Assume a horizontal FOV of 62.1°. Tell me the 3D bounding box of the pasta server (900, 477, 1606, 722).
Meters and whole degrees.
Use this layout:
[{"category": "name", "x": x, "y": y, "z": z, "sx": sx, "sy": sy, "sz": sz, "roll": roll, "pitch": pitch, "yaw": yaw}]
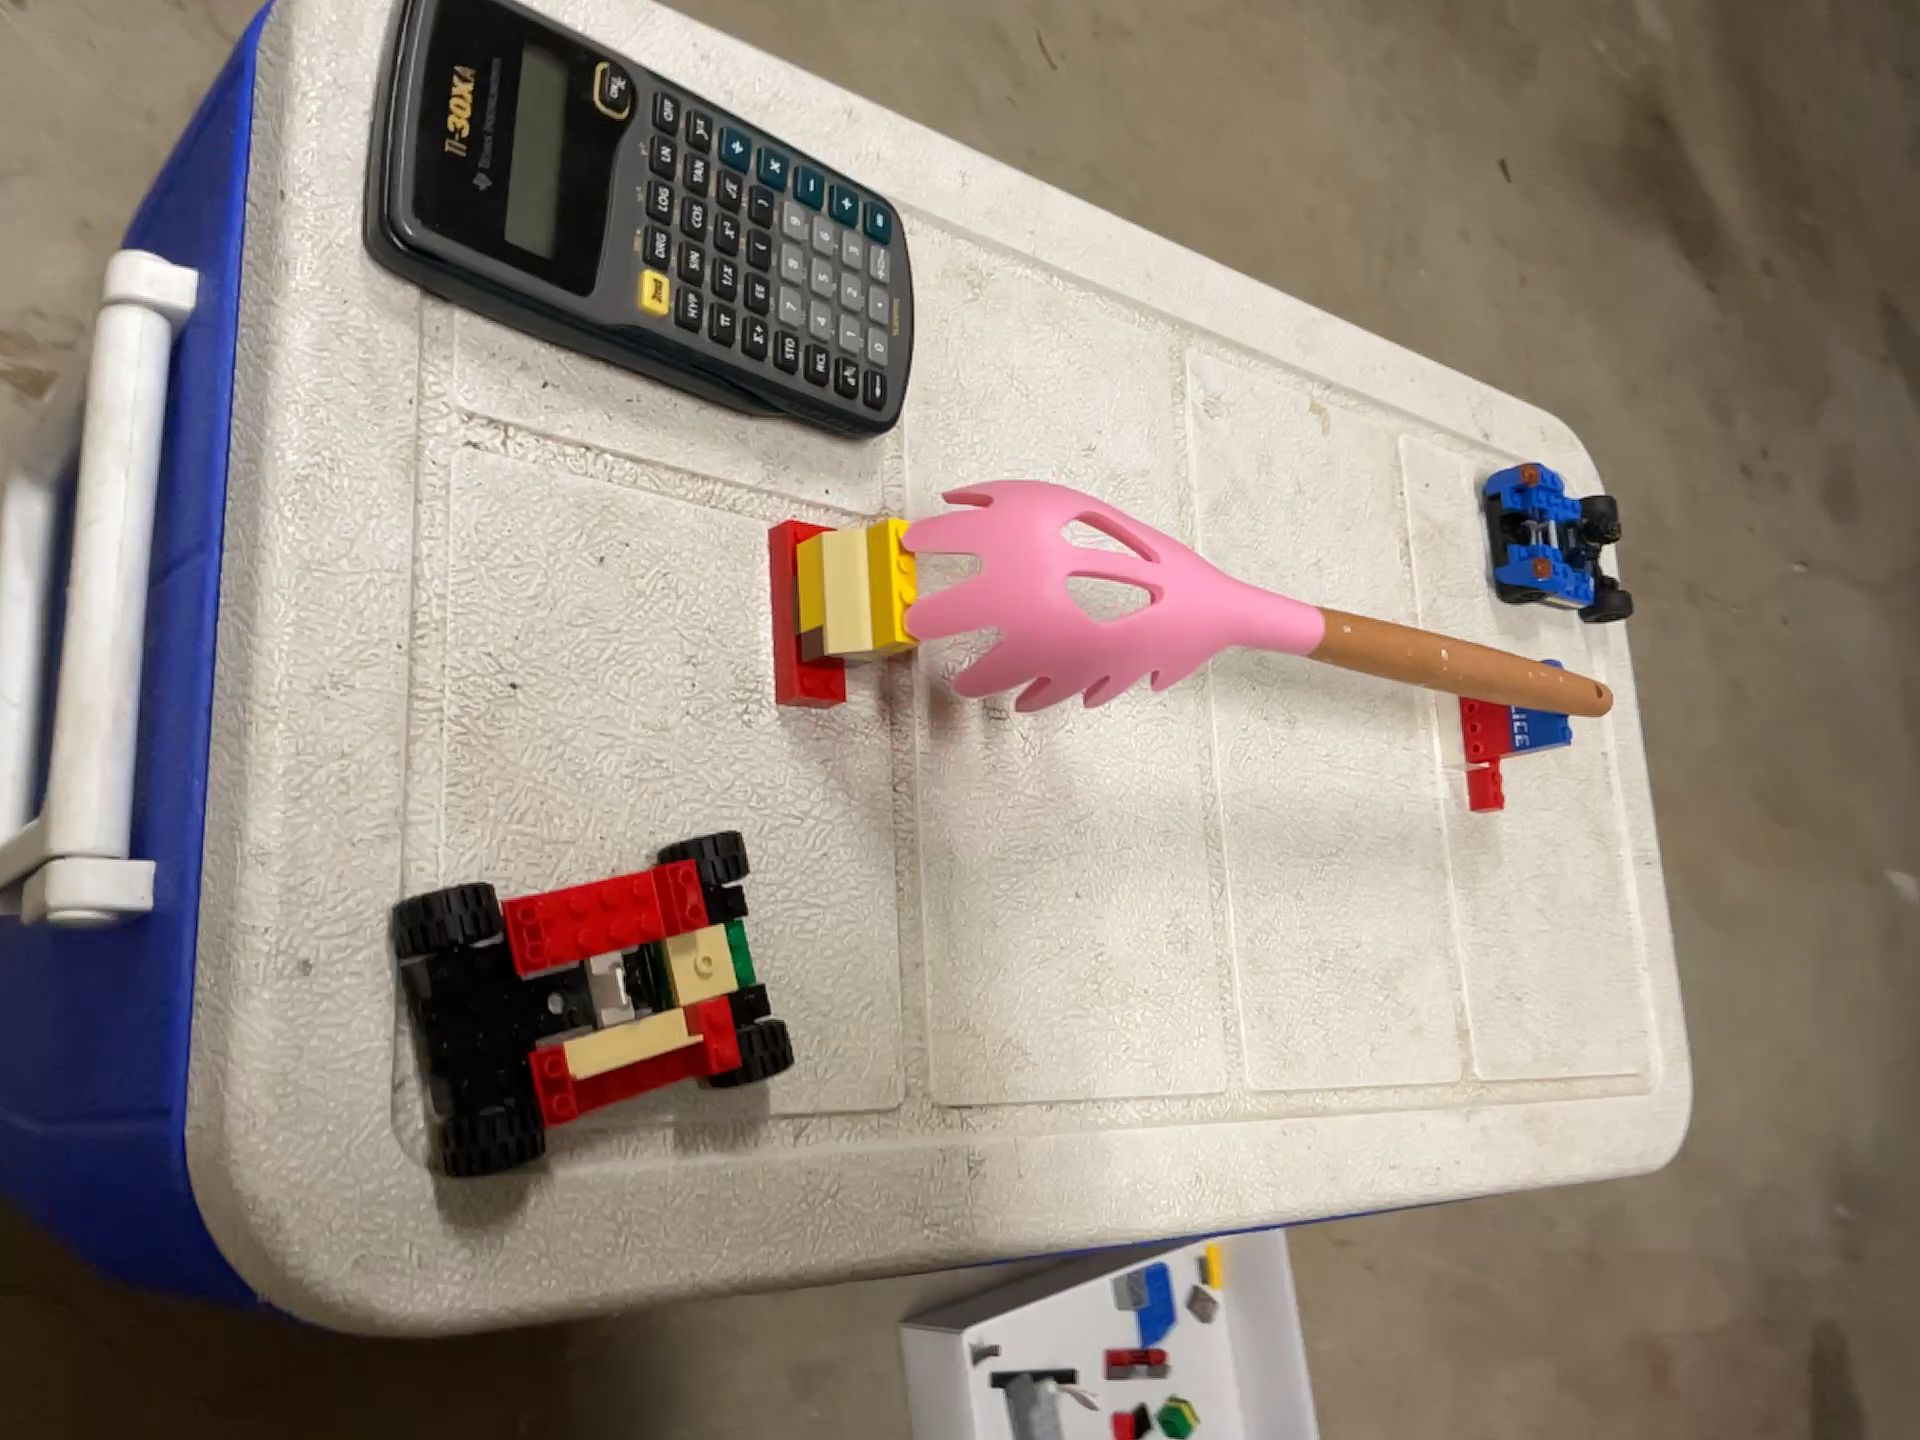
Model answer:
[{"category": "pasta server", "x": 0.113, "y": -0.022, "z": 0.486, "sx": 0.316, "sy": 0.040, "sz": 0.060, "roll": 9, "pitch": 71, "yaw": -43}]
